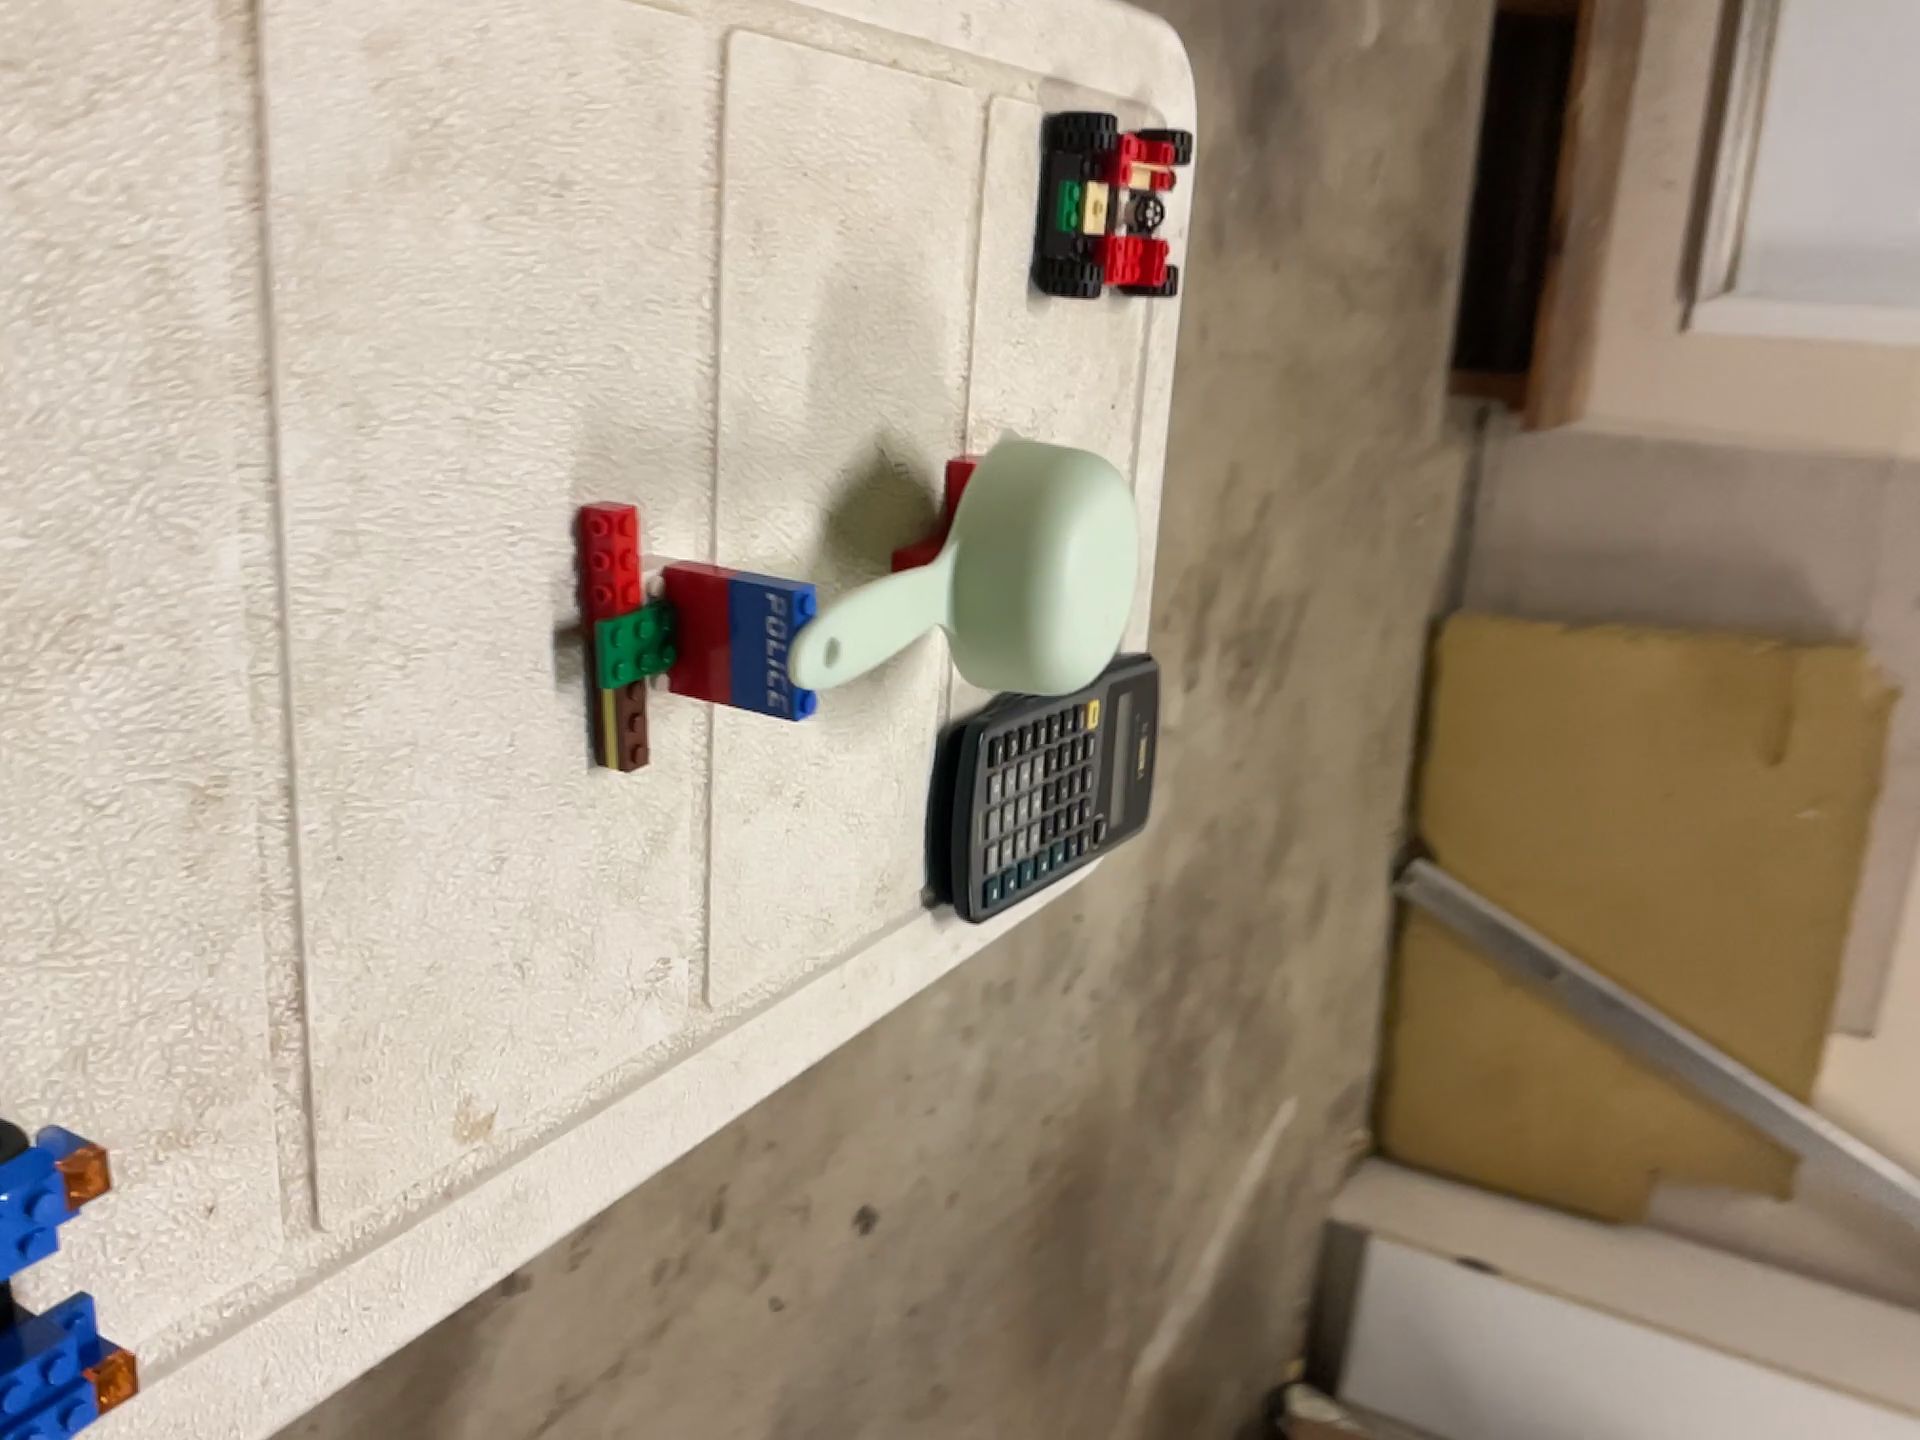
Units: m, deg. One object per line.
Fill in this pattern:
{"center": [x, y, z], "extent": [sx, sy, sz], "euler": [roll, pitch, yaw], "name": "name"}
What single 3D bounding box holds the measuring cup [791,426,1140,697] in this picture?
{"center": [0.009, -0.032, 0.436], "extent": [0.167, 0.038, 0.083], "euler": [-33, 129, -61], "name": "measuring cup"}
